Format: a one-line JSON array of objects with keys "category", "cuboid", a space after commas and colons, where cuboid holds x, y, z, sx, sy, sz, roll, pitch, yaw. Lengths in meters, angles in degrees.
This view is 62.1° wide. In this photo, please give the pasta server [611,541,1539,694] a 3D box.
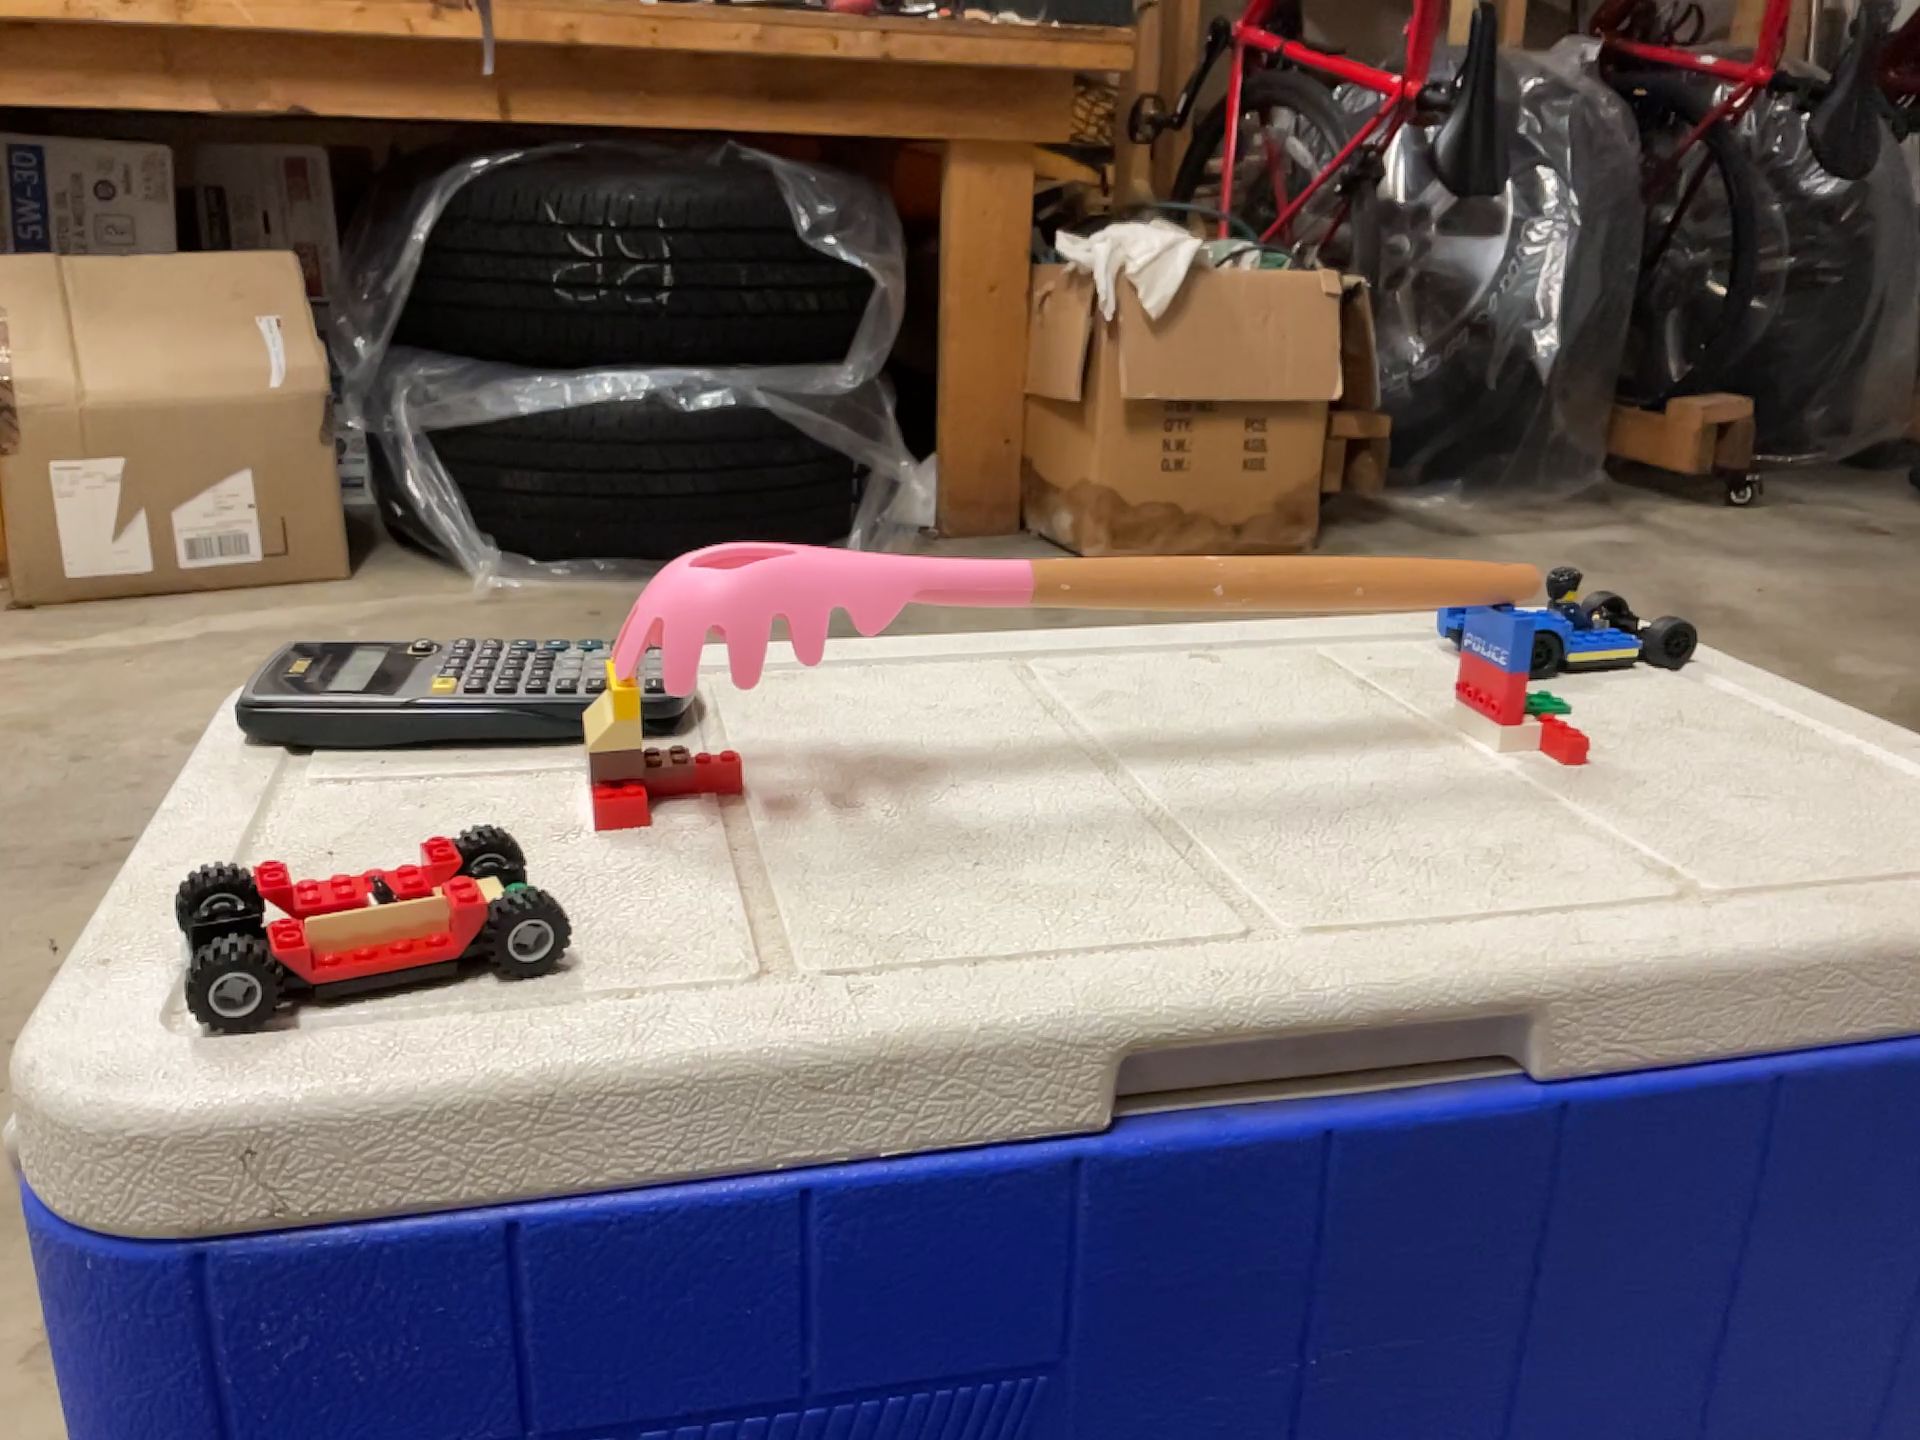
[{"category": "pasta server", "cuboid": [0.047, -0.037, 0.523, 0.316, 0.040, 0.060, -1, 17, -15]}]
